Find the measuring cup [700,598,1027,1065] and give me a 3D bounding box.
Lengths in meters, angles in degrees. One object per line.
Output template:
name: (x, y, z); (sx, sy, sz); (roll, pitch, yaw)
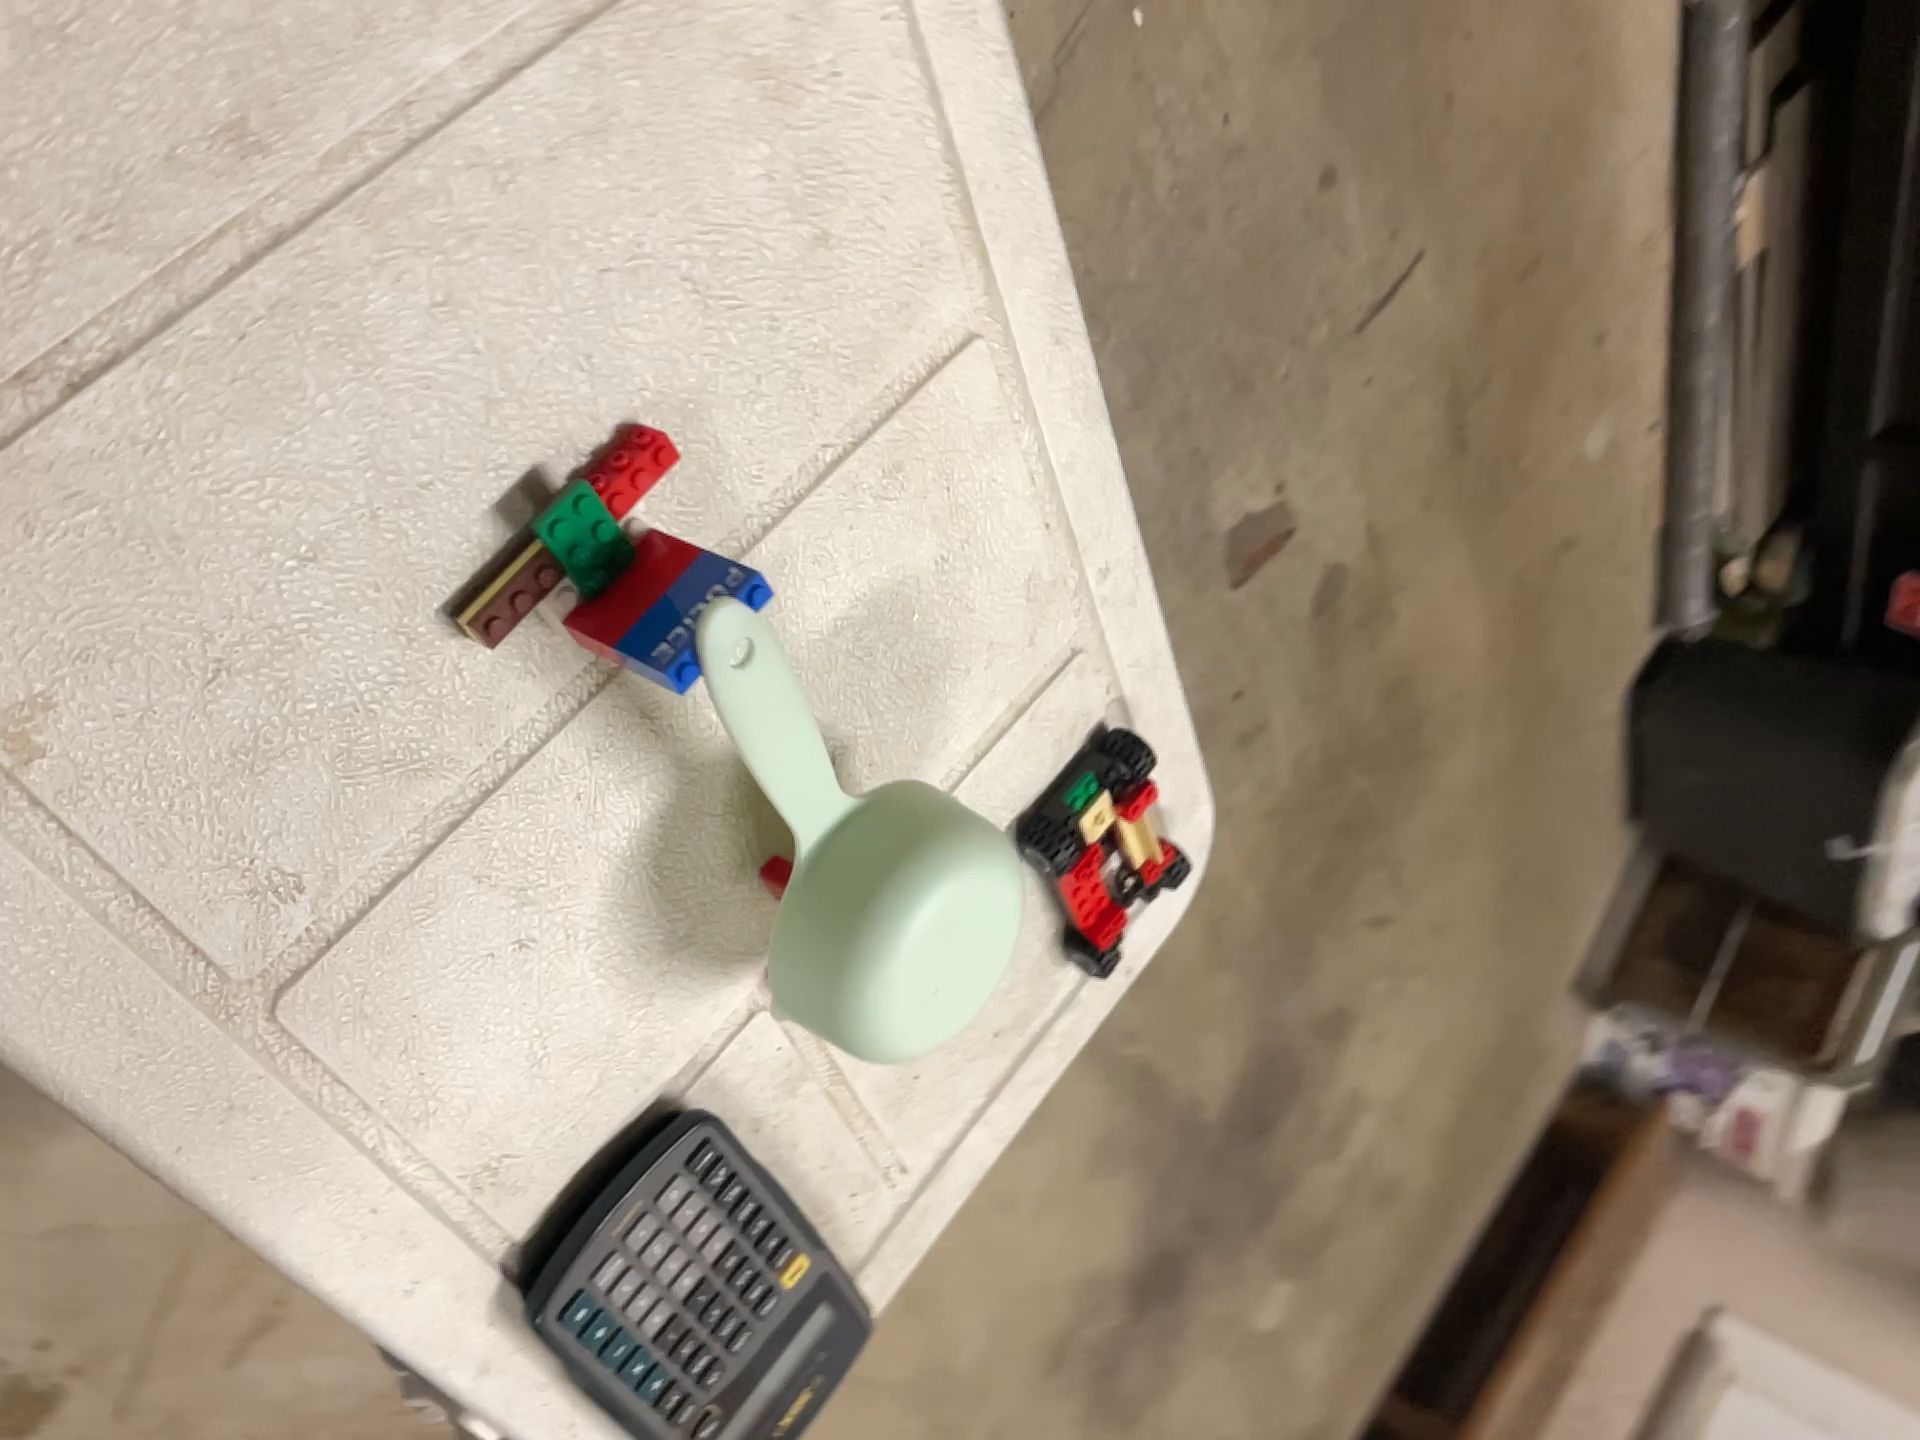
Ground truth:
measuring cup: (-0.024, 0.031, 0.406); (0.083, 0.038, 0.167); (-49, 146, -21)
